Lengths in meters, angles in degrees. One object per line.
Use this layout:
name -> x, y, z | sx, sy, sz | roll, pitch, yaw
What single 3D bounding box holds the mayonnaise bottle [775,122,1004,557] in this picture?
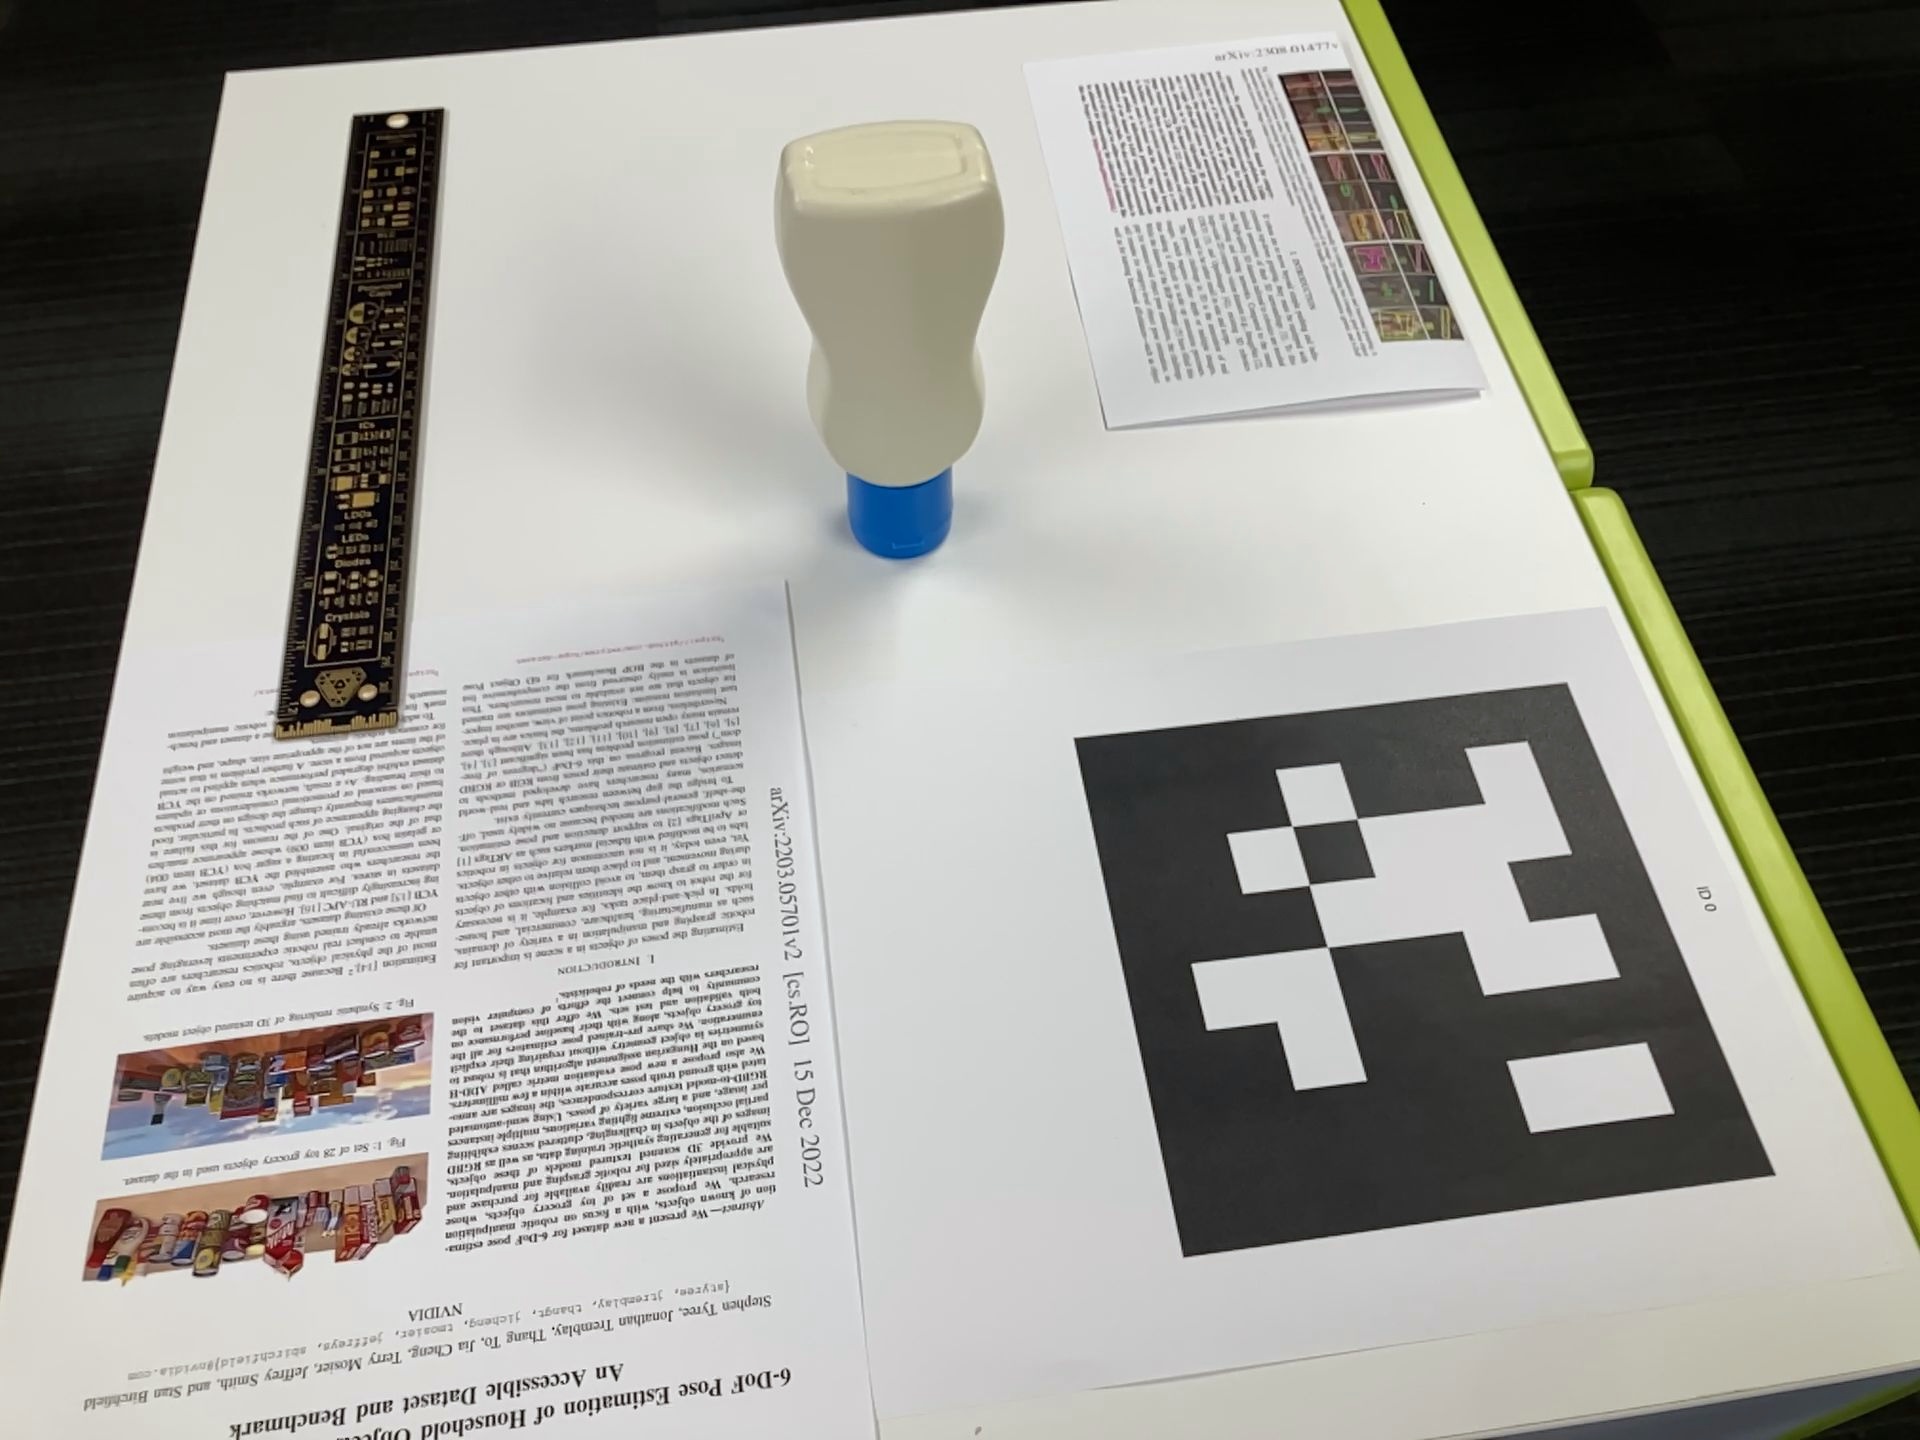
mayonnaise bottle -> -0.020, -0.112, 0.496 | 0.065, 0.148, 0.041 | -7, 56, -5
